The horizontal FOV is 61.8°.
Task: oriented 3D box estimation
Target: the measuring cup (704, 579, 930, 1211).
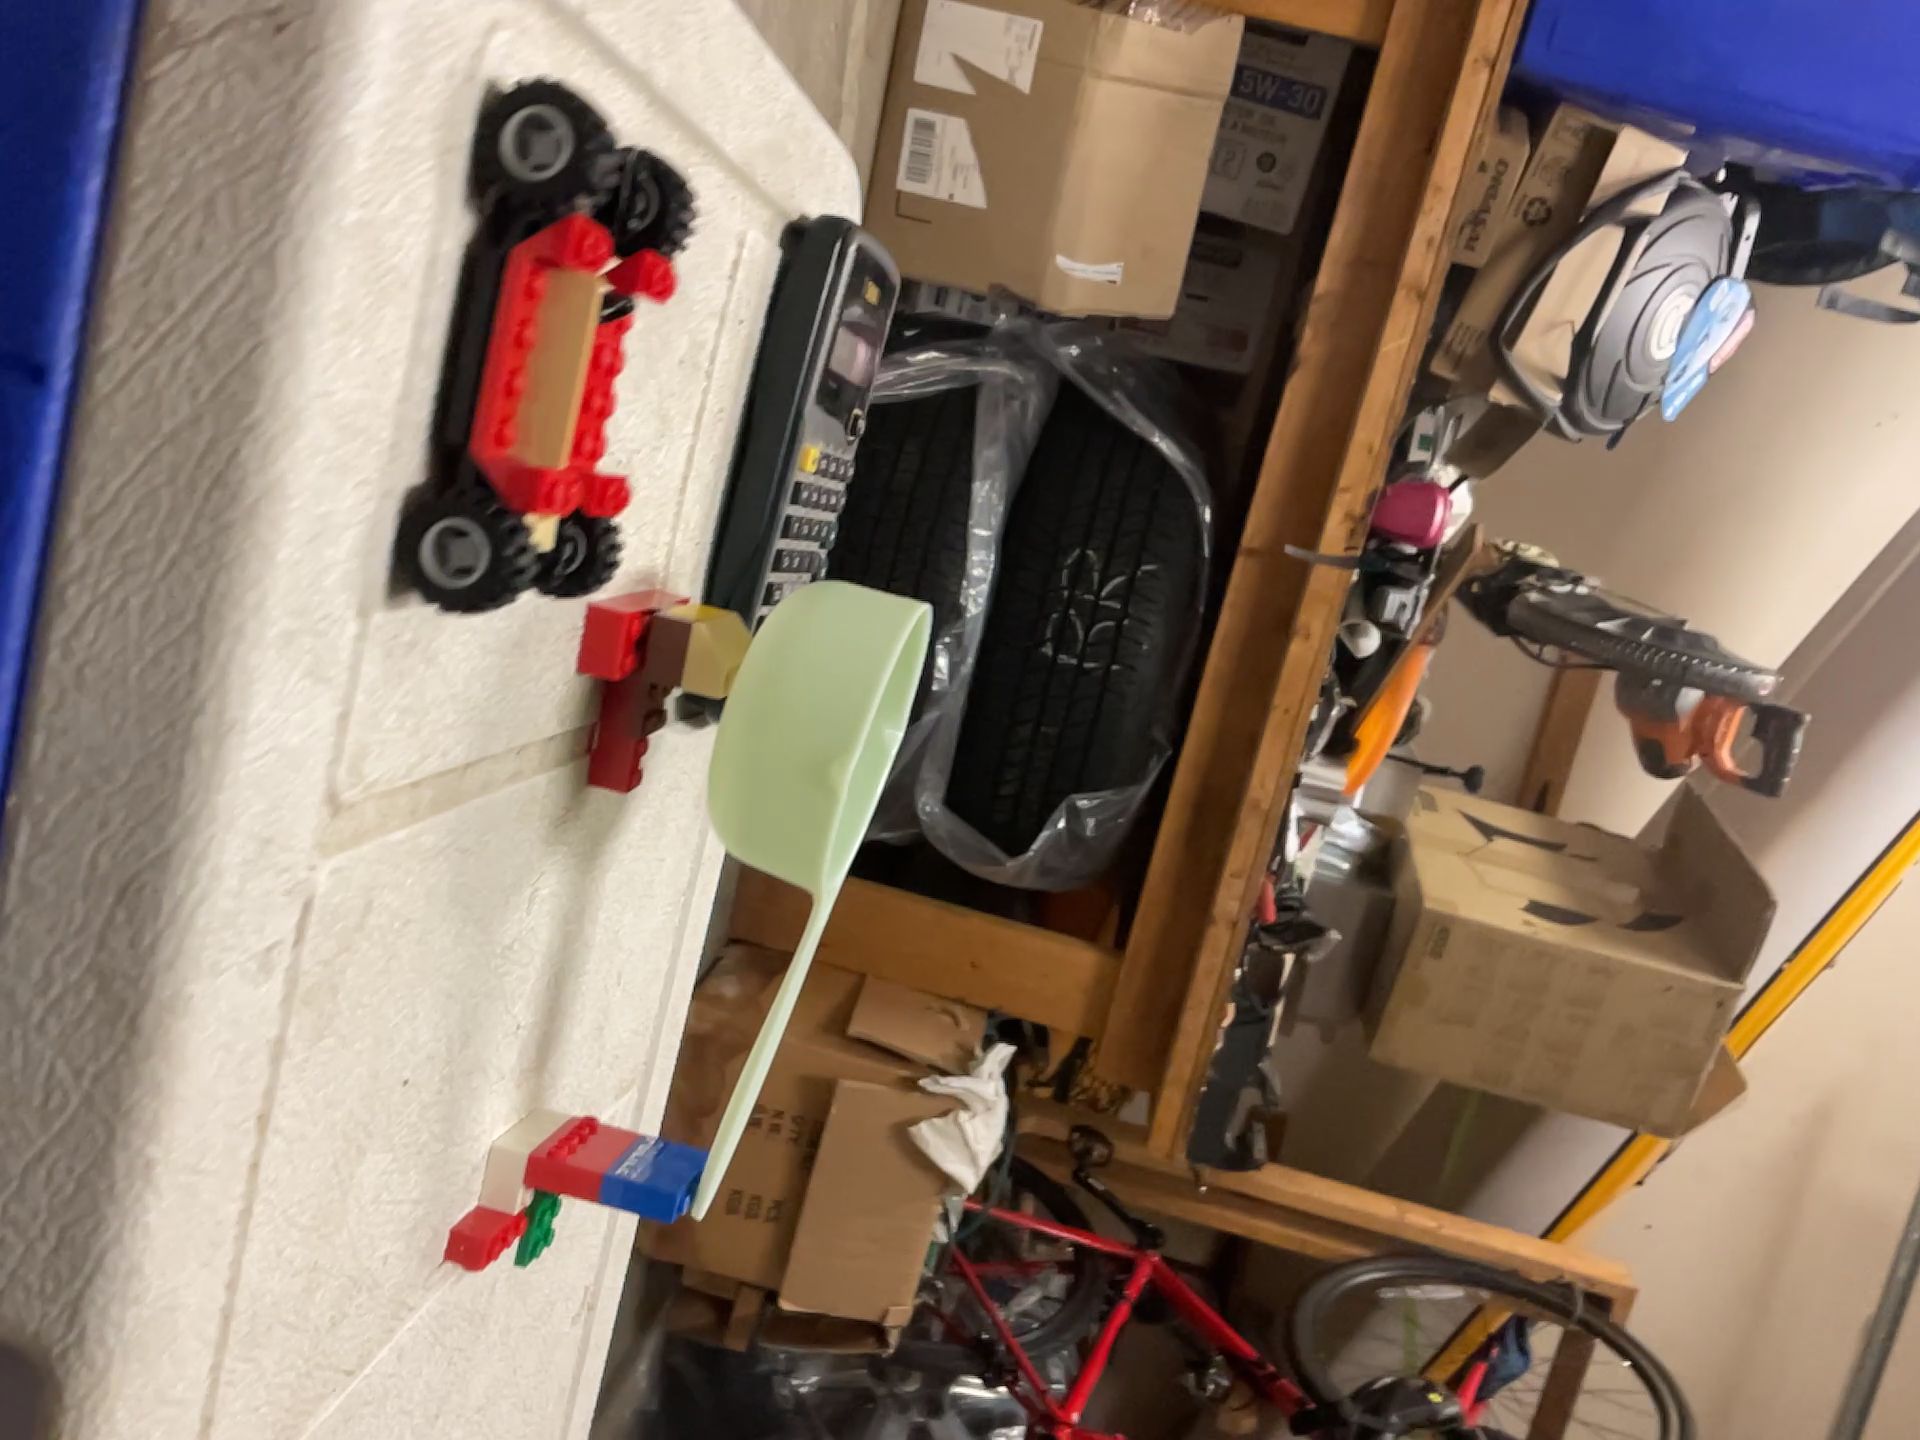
[{"bbox_3d":[-0.051,0.044,0.403,0.083,0.038,0.167,-54,164,-80],"label":"measuring cup"}]
